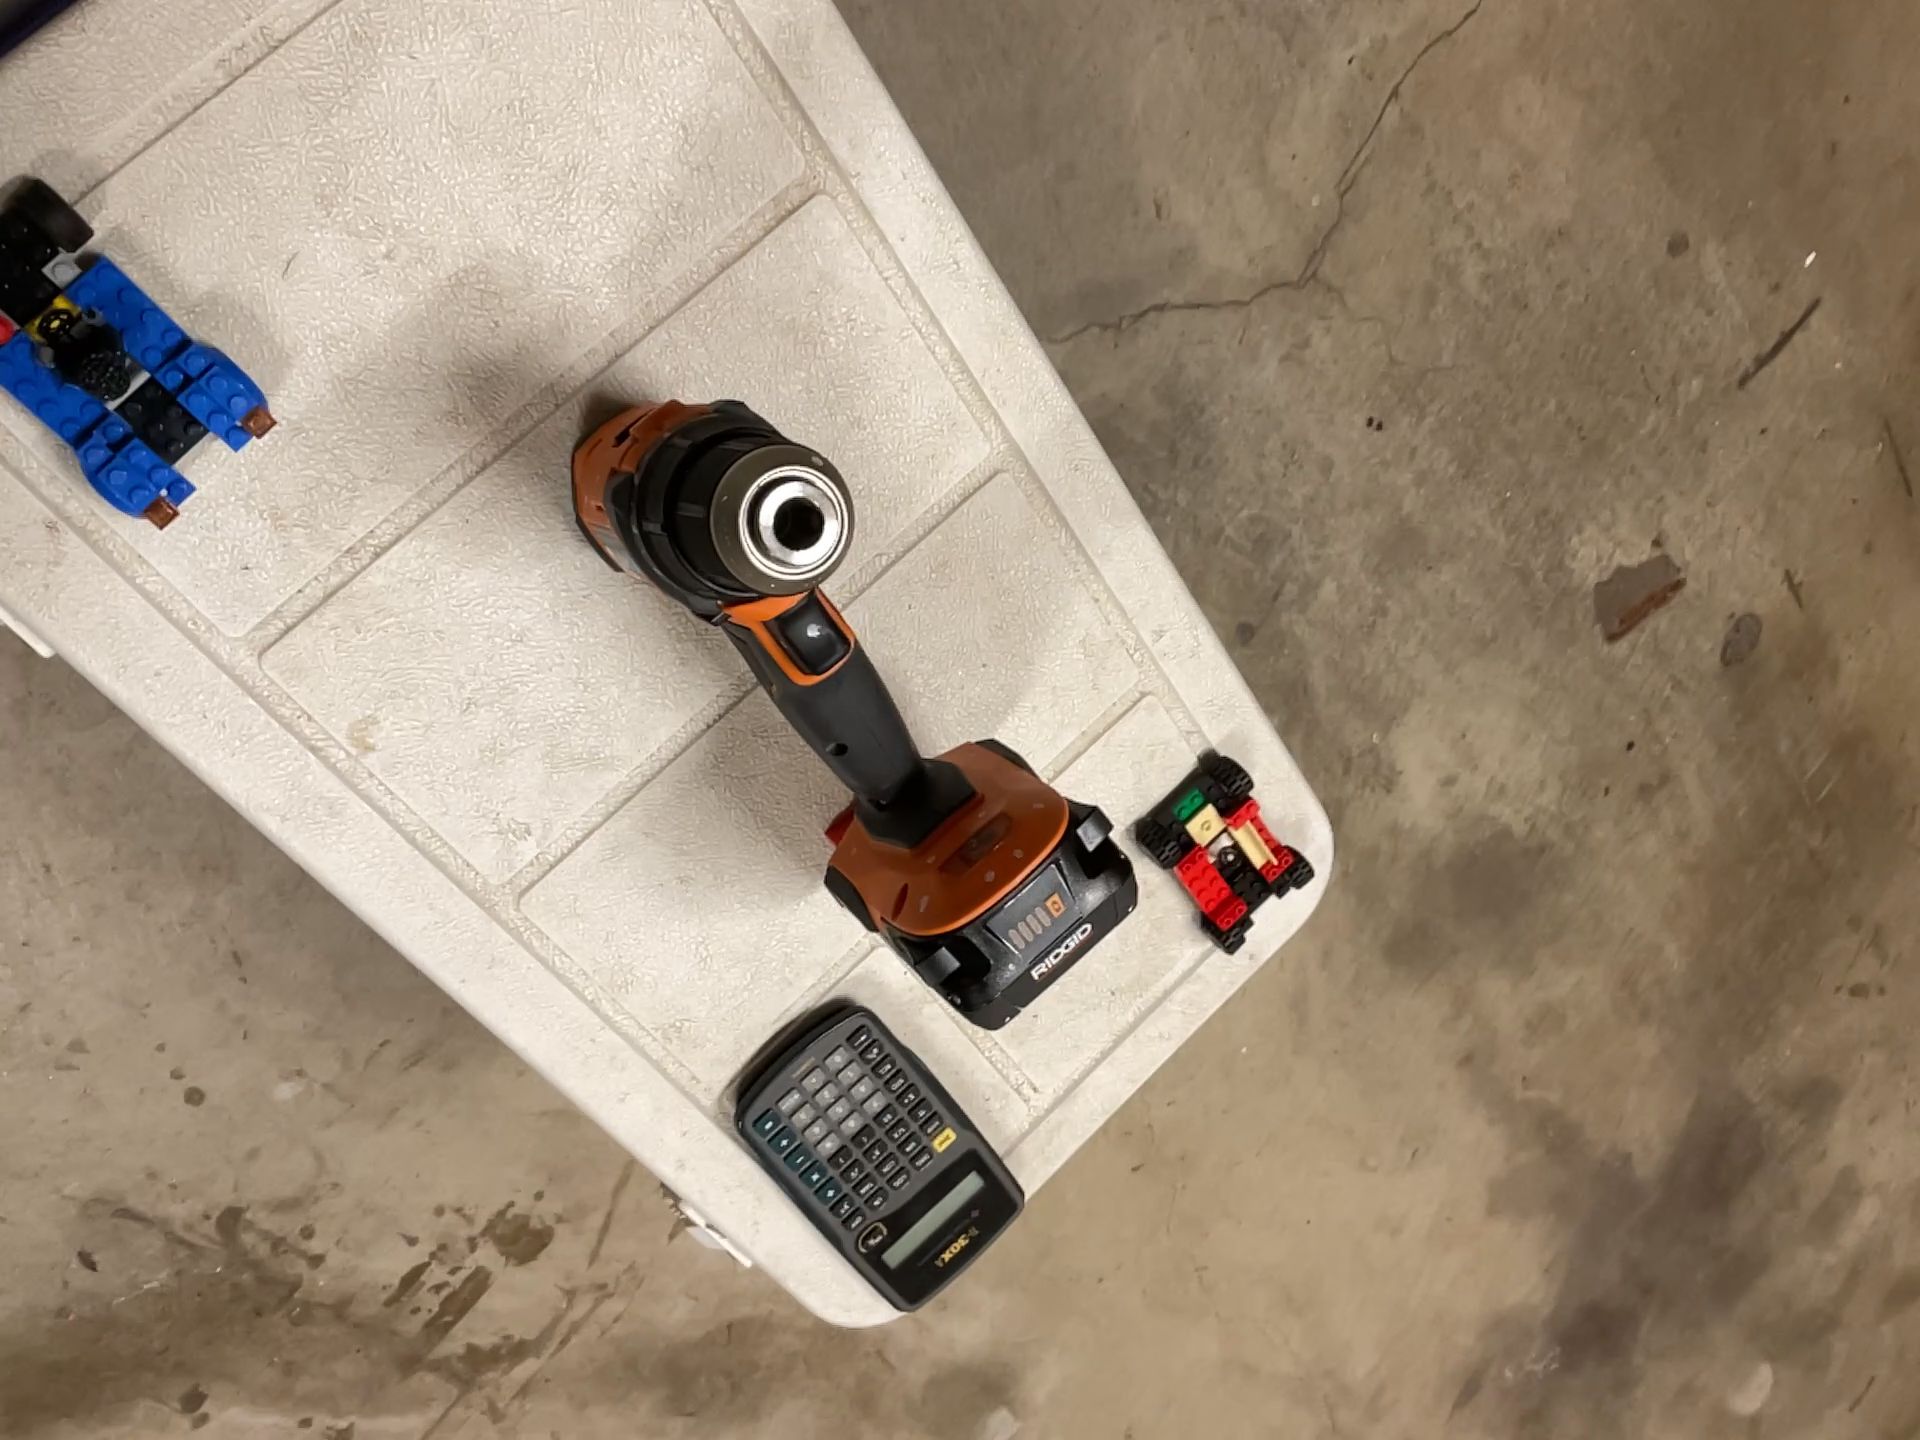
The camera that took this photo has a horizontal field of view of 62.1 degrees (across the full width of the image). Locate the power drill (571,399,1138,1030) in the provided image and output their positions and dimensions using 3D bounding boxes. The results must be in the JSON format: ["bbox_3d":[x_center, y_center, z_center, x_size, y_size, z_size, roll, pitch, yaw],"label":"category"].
[{"bbox_3d":[-0.033,-0.006,0.521,0.084,0.185,0.226,-40,111,-12],"label":"power drill"}]
